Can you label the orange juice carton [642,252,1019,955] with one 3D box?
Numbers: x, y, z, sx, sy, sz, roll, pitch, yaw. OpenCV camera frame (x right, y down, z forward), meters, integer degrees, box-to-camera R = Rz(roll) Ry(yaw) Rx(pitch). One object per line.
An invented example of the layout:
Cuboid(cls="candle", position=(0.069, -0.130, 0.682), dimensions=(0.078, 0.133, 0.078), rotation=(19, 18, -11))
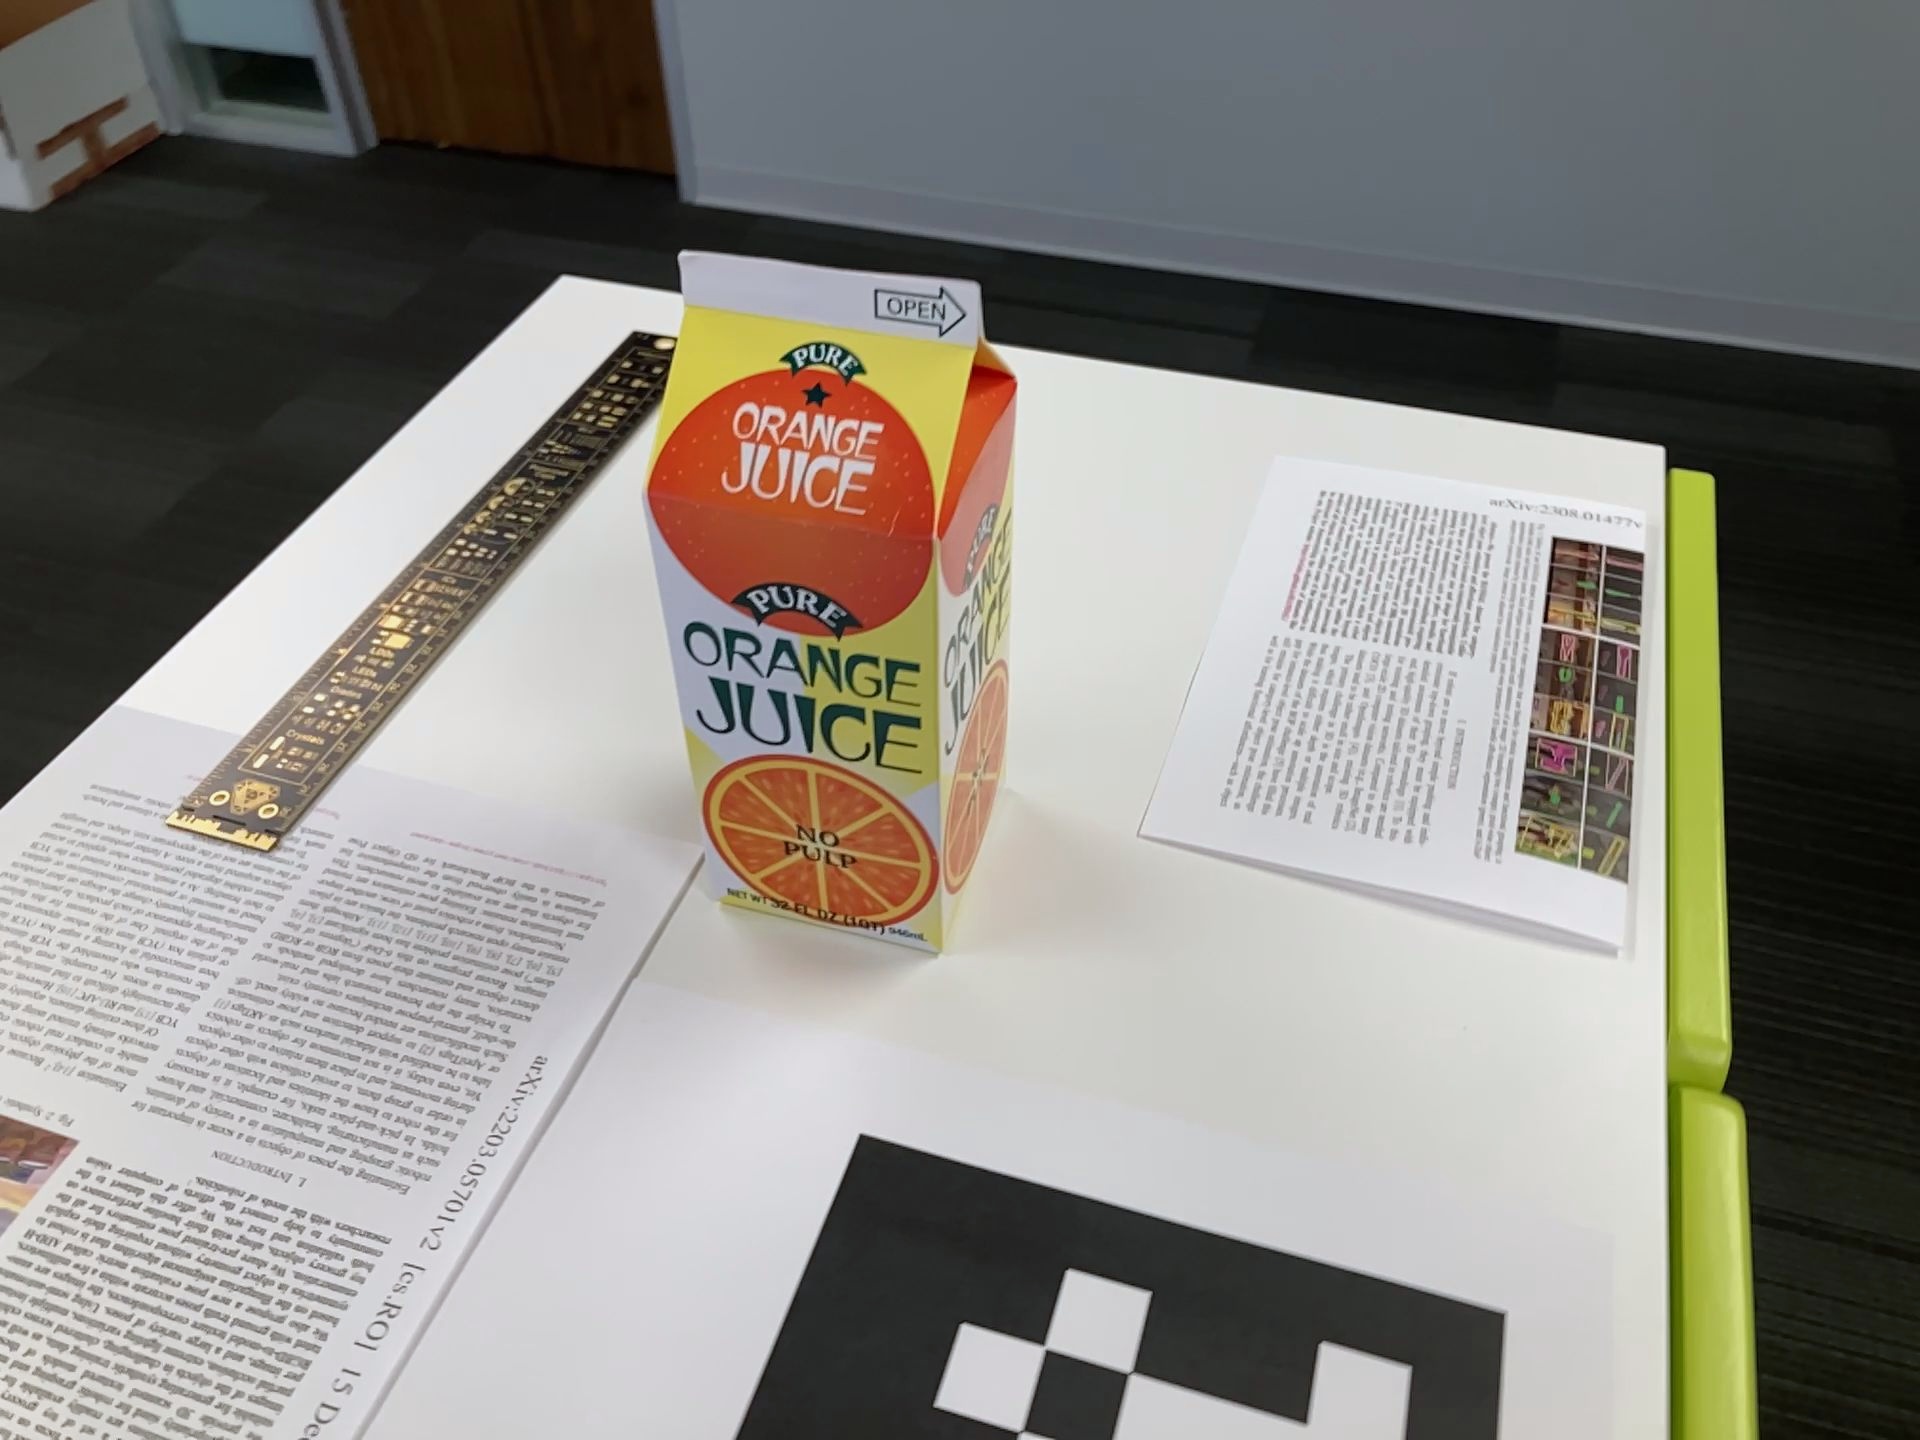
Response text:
Cuboid(cls="orange juice carton", position=(-0.029, -0.030, 0.416), dimensions=(0.072, 0.192, 0.073), rotation=(12, 45, 12))
